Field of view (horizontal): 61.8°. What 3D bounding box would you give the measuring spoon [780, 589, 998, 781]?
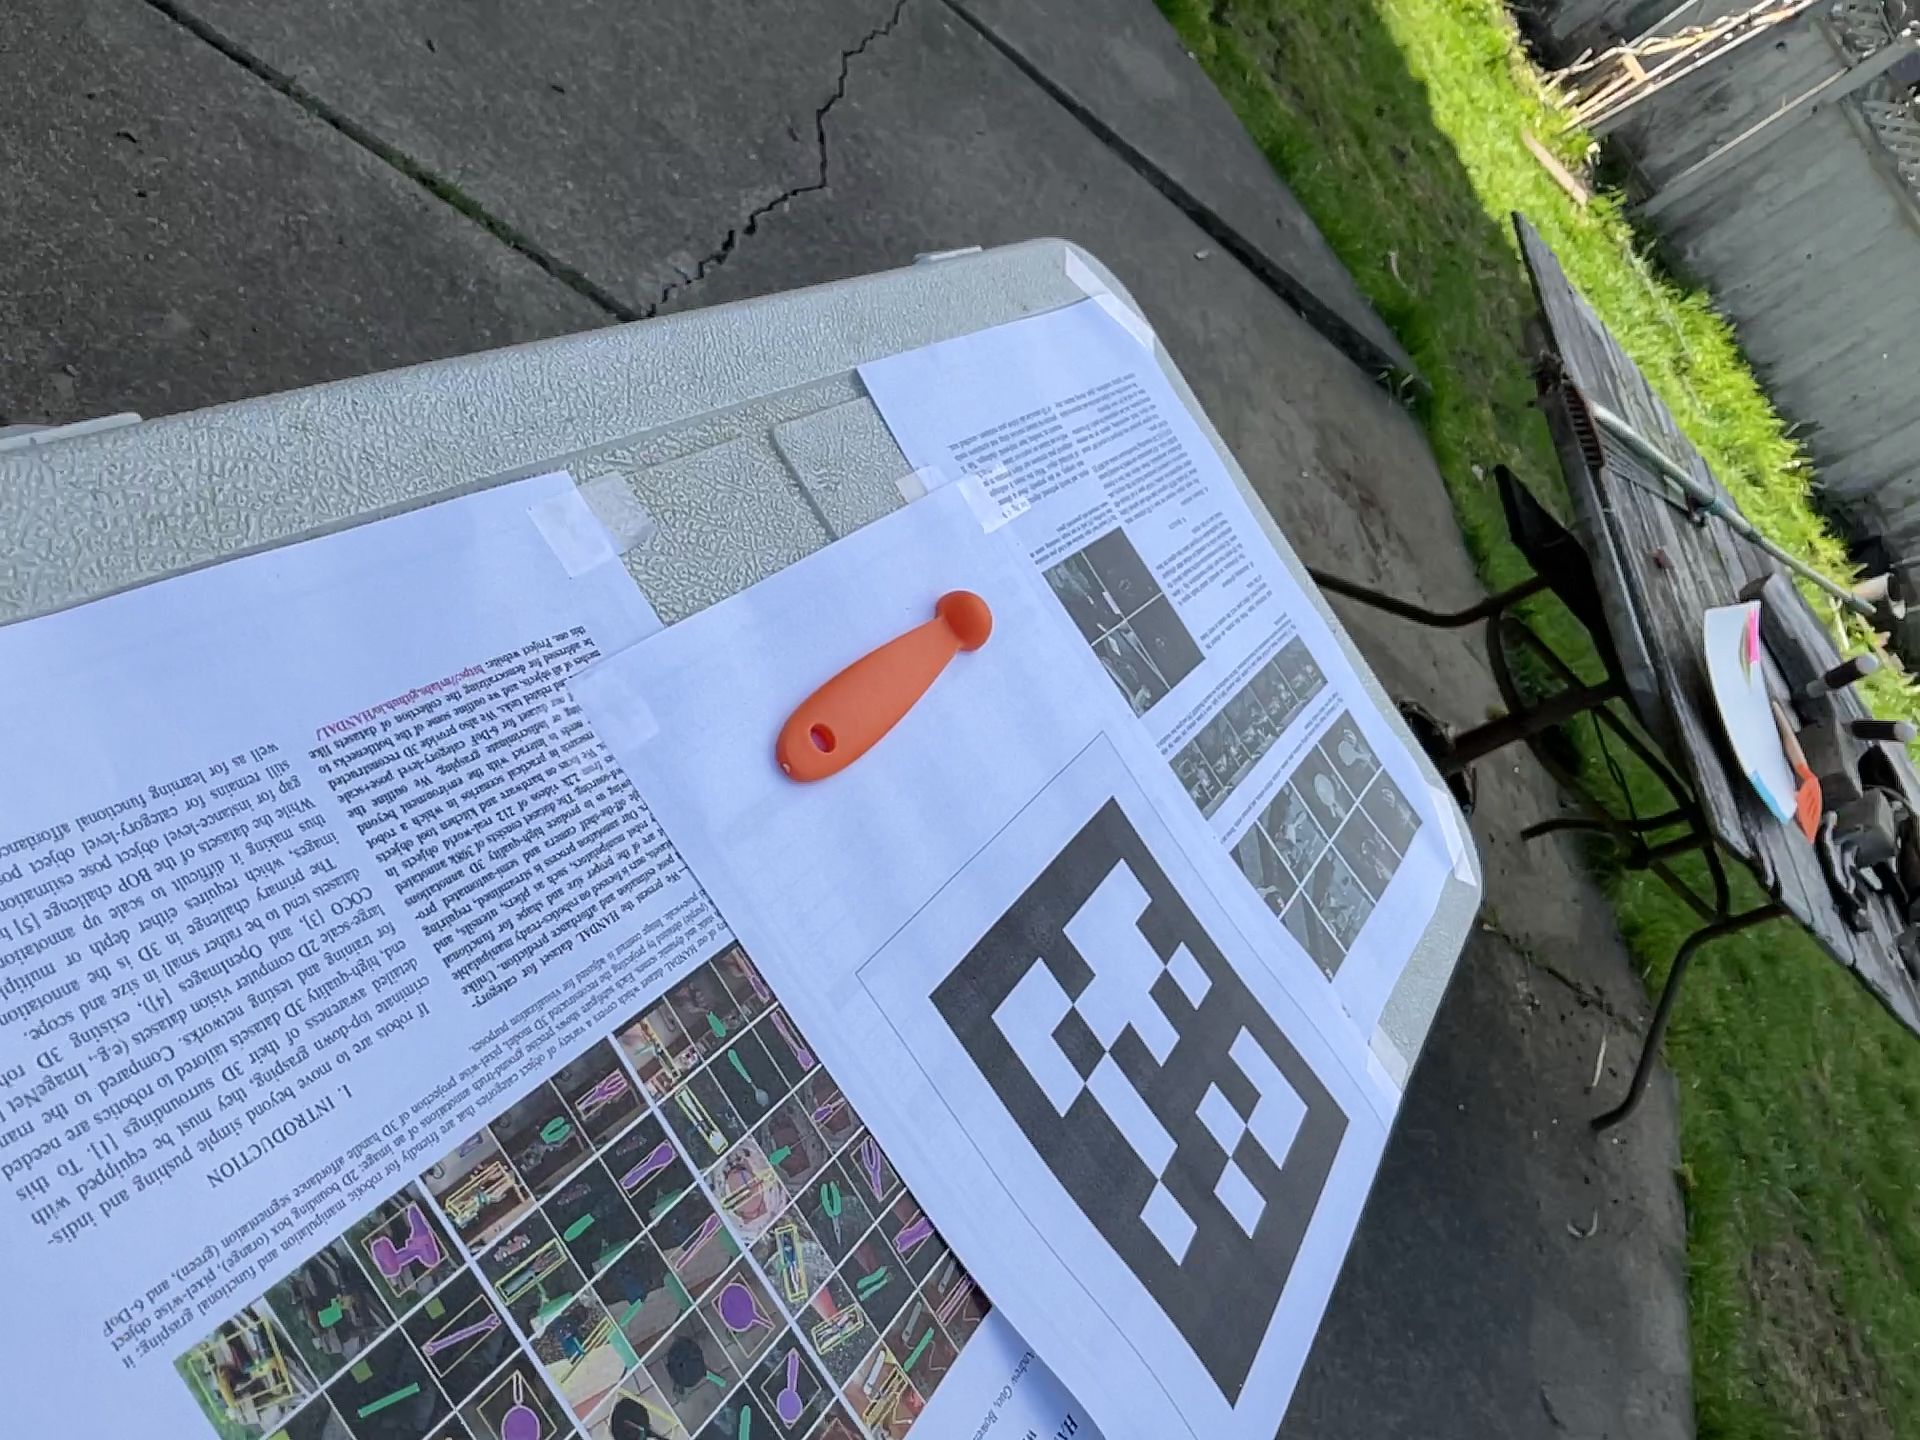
[{"bbox_3d":[-0.016,-0.013,0.443,0.021,0.011,0.117,50,35,-3],"label":"measuring spoon"}]
